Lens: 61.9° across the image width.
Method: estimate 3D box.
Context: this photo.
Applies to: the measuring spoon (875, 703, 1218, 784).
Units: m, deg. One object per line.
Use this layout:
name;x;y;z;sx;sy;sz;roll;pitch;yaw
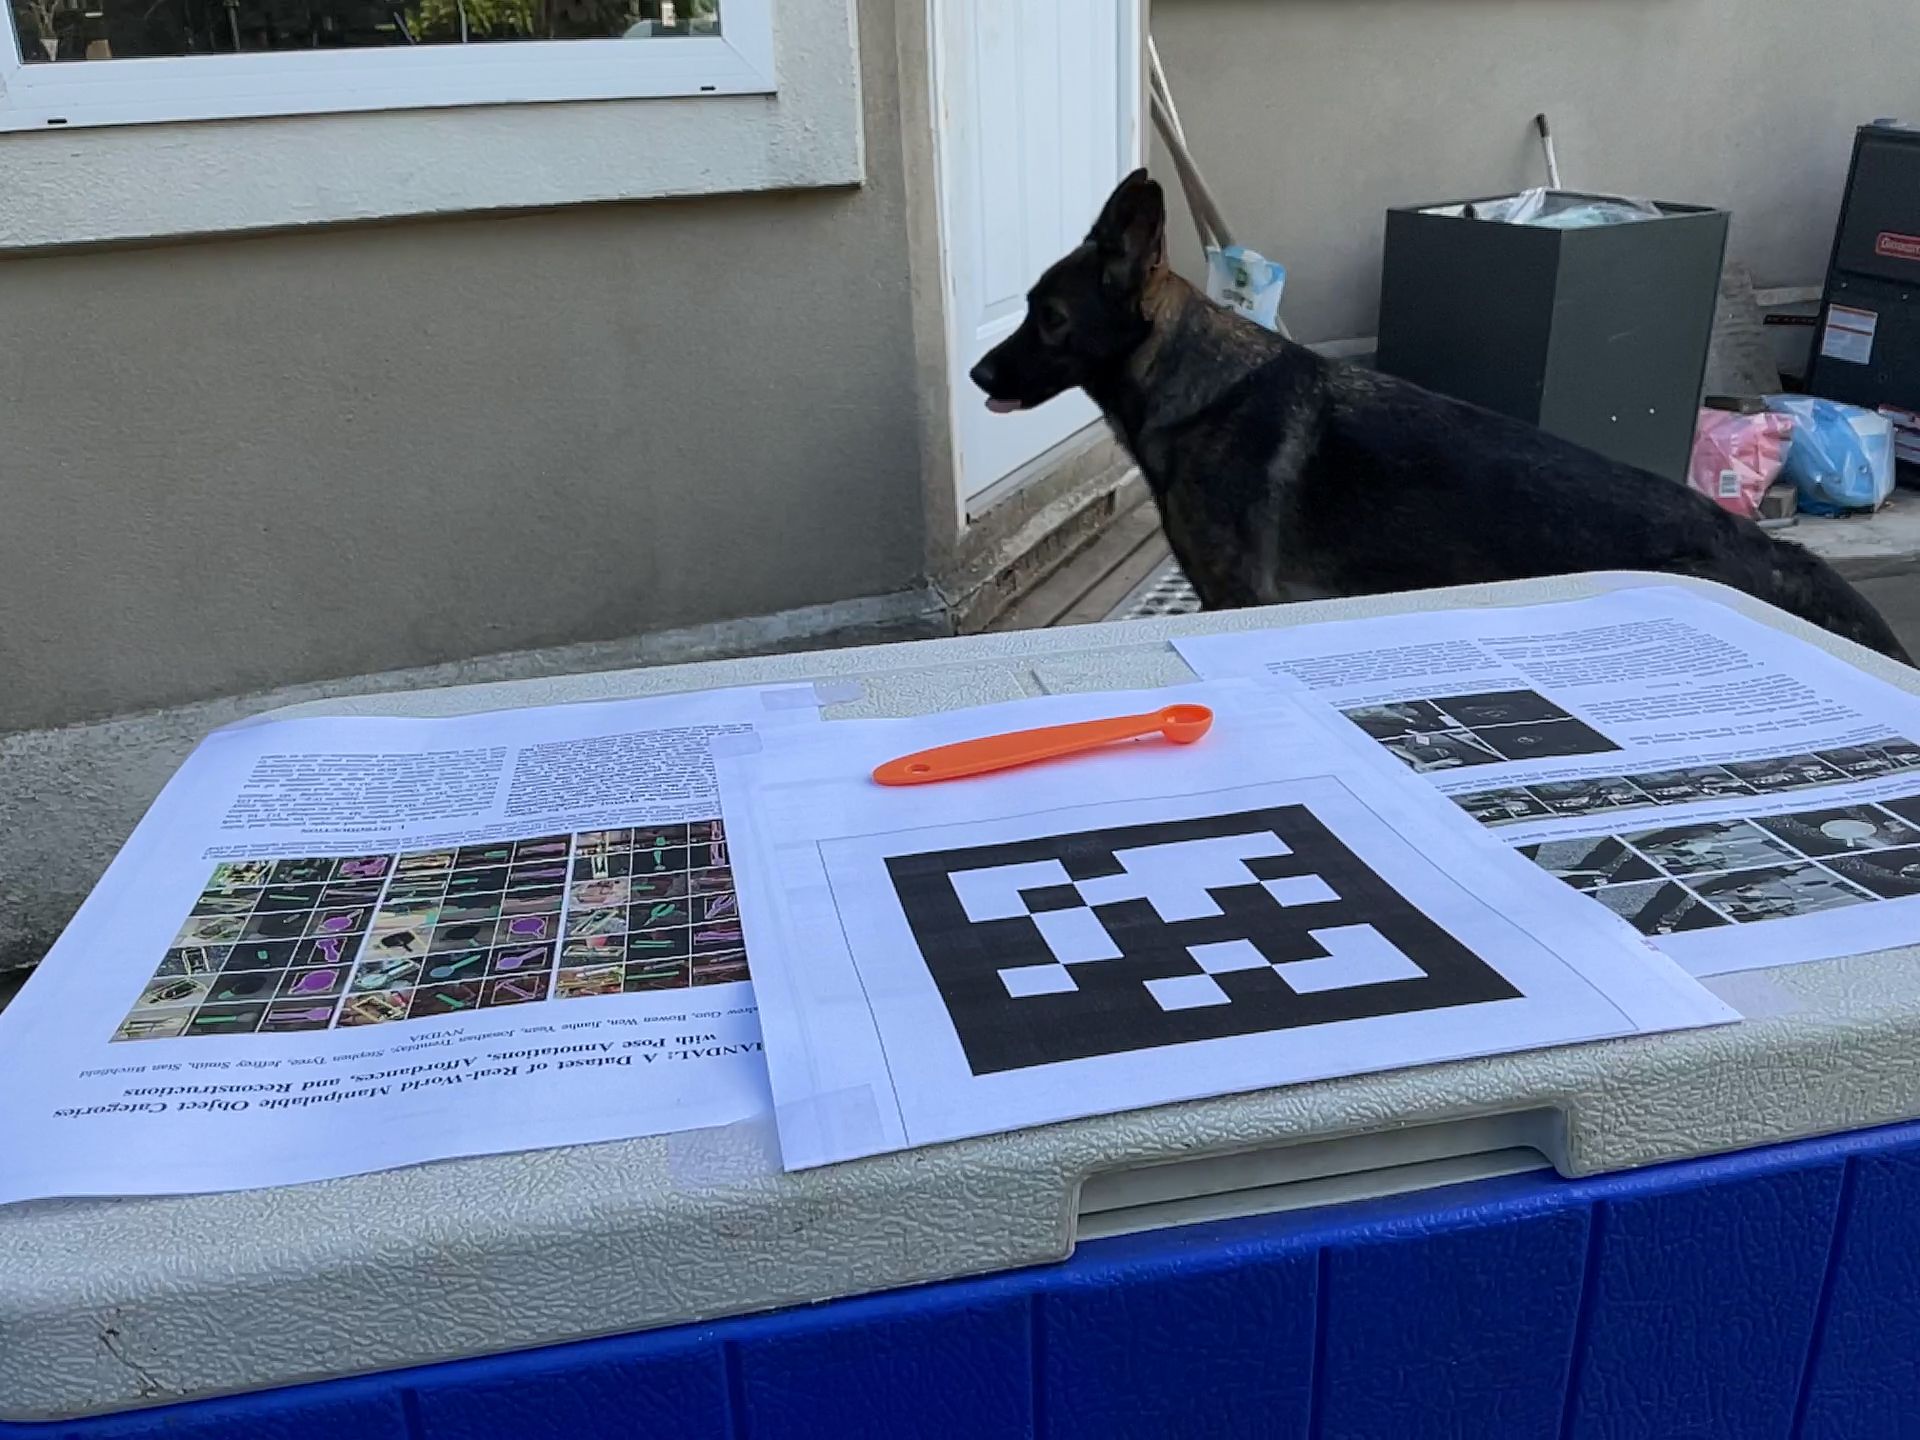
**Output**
measuring spoon;0.029;0.011;0.529;0.117;0.011;0.021;-10;22;-10
